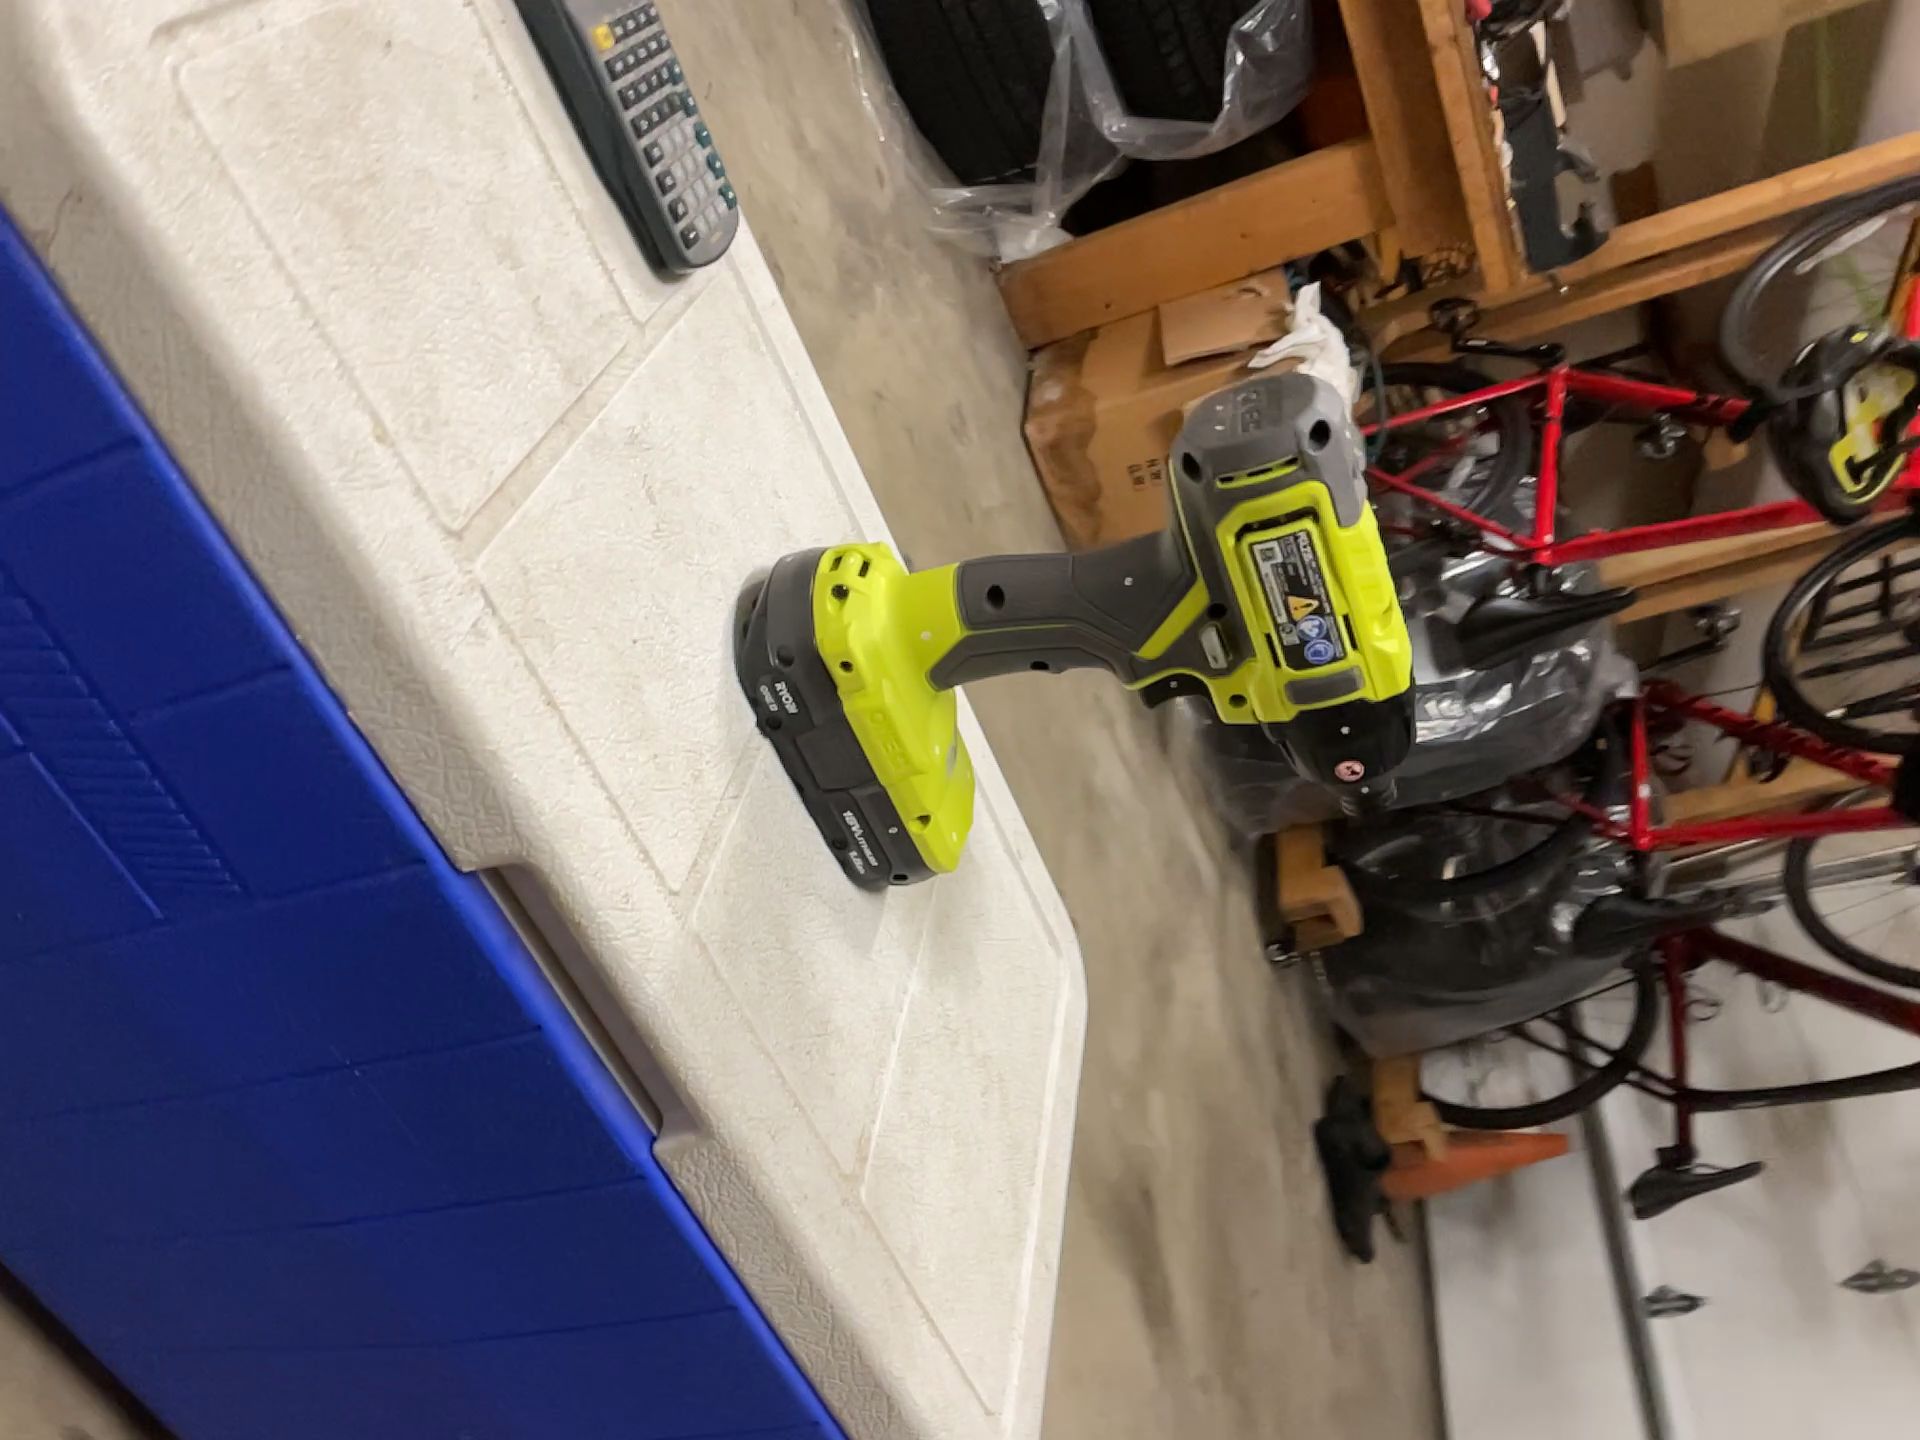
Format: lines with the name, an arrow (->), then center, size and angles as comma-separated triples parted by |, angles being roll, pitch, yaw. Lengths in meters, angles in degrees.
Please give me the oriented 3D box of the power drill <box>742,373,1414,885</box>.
power drill -> 0.049, -0.017, 0.593 | 0.080, 0.223, 0.171 | -76, 147, -53
